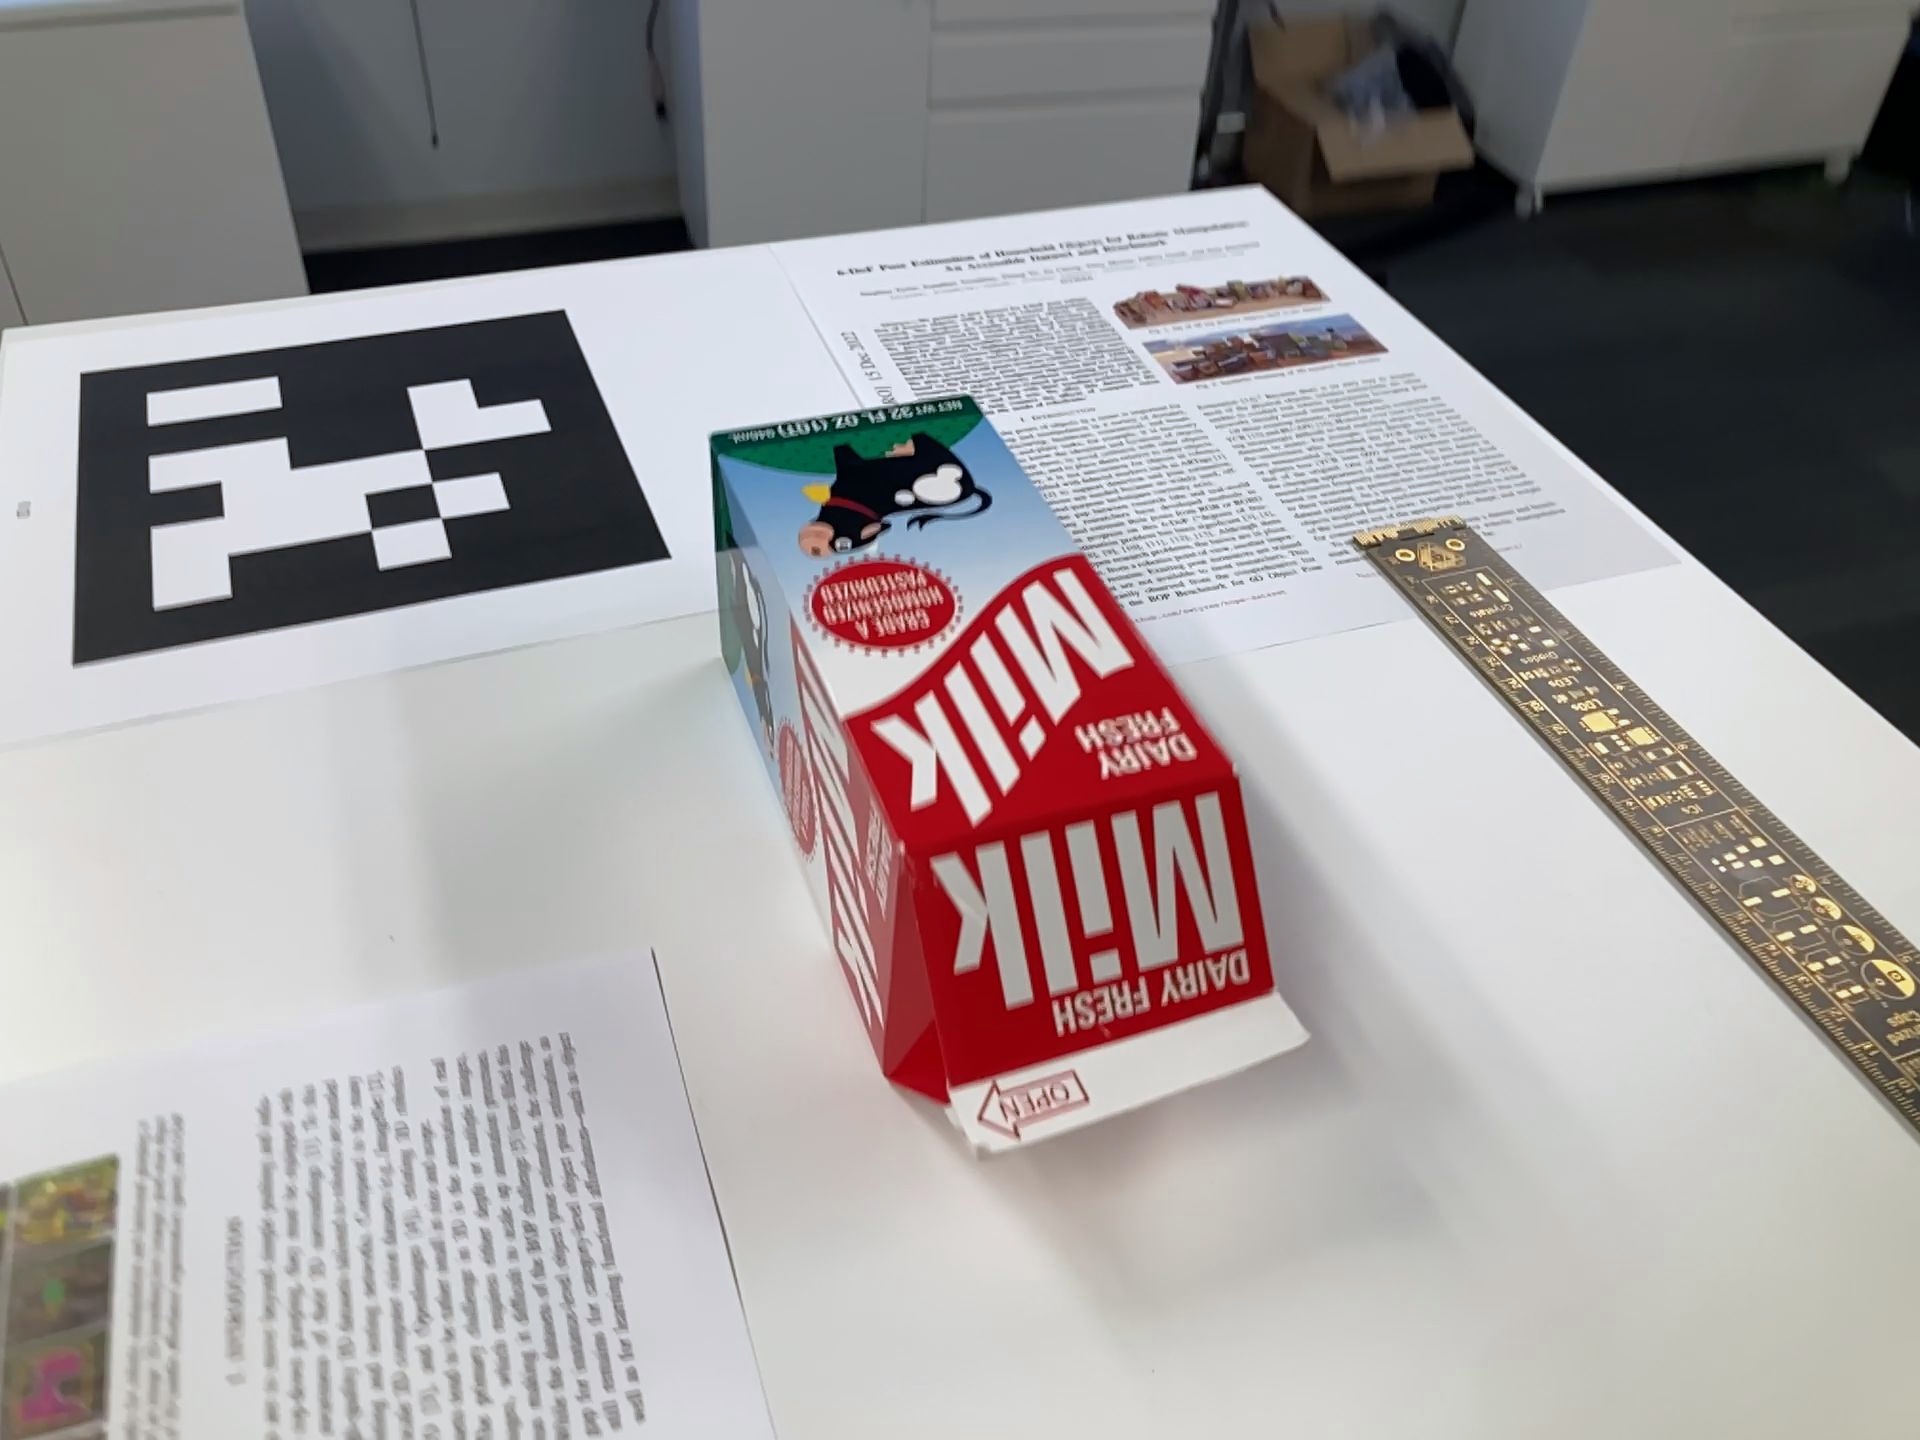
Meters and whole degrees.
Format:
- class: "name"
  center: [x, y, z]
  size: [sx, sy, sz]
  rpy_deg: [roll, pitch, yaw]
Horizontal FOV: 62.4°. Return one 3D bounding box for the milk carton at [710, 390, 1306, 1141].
- class: "milk carton"
  center: [0.001, 0.008, 0.355]
  size: [0.072, 0.073, 0.190]
  rpy_deg: [-11, 44, -18]
